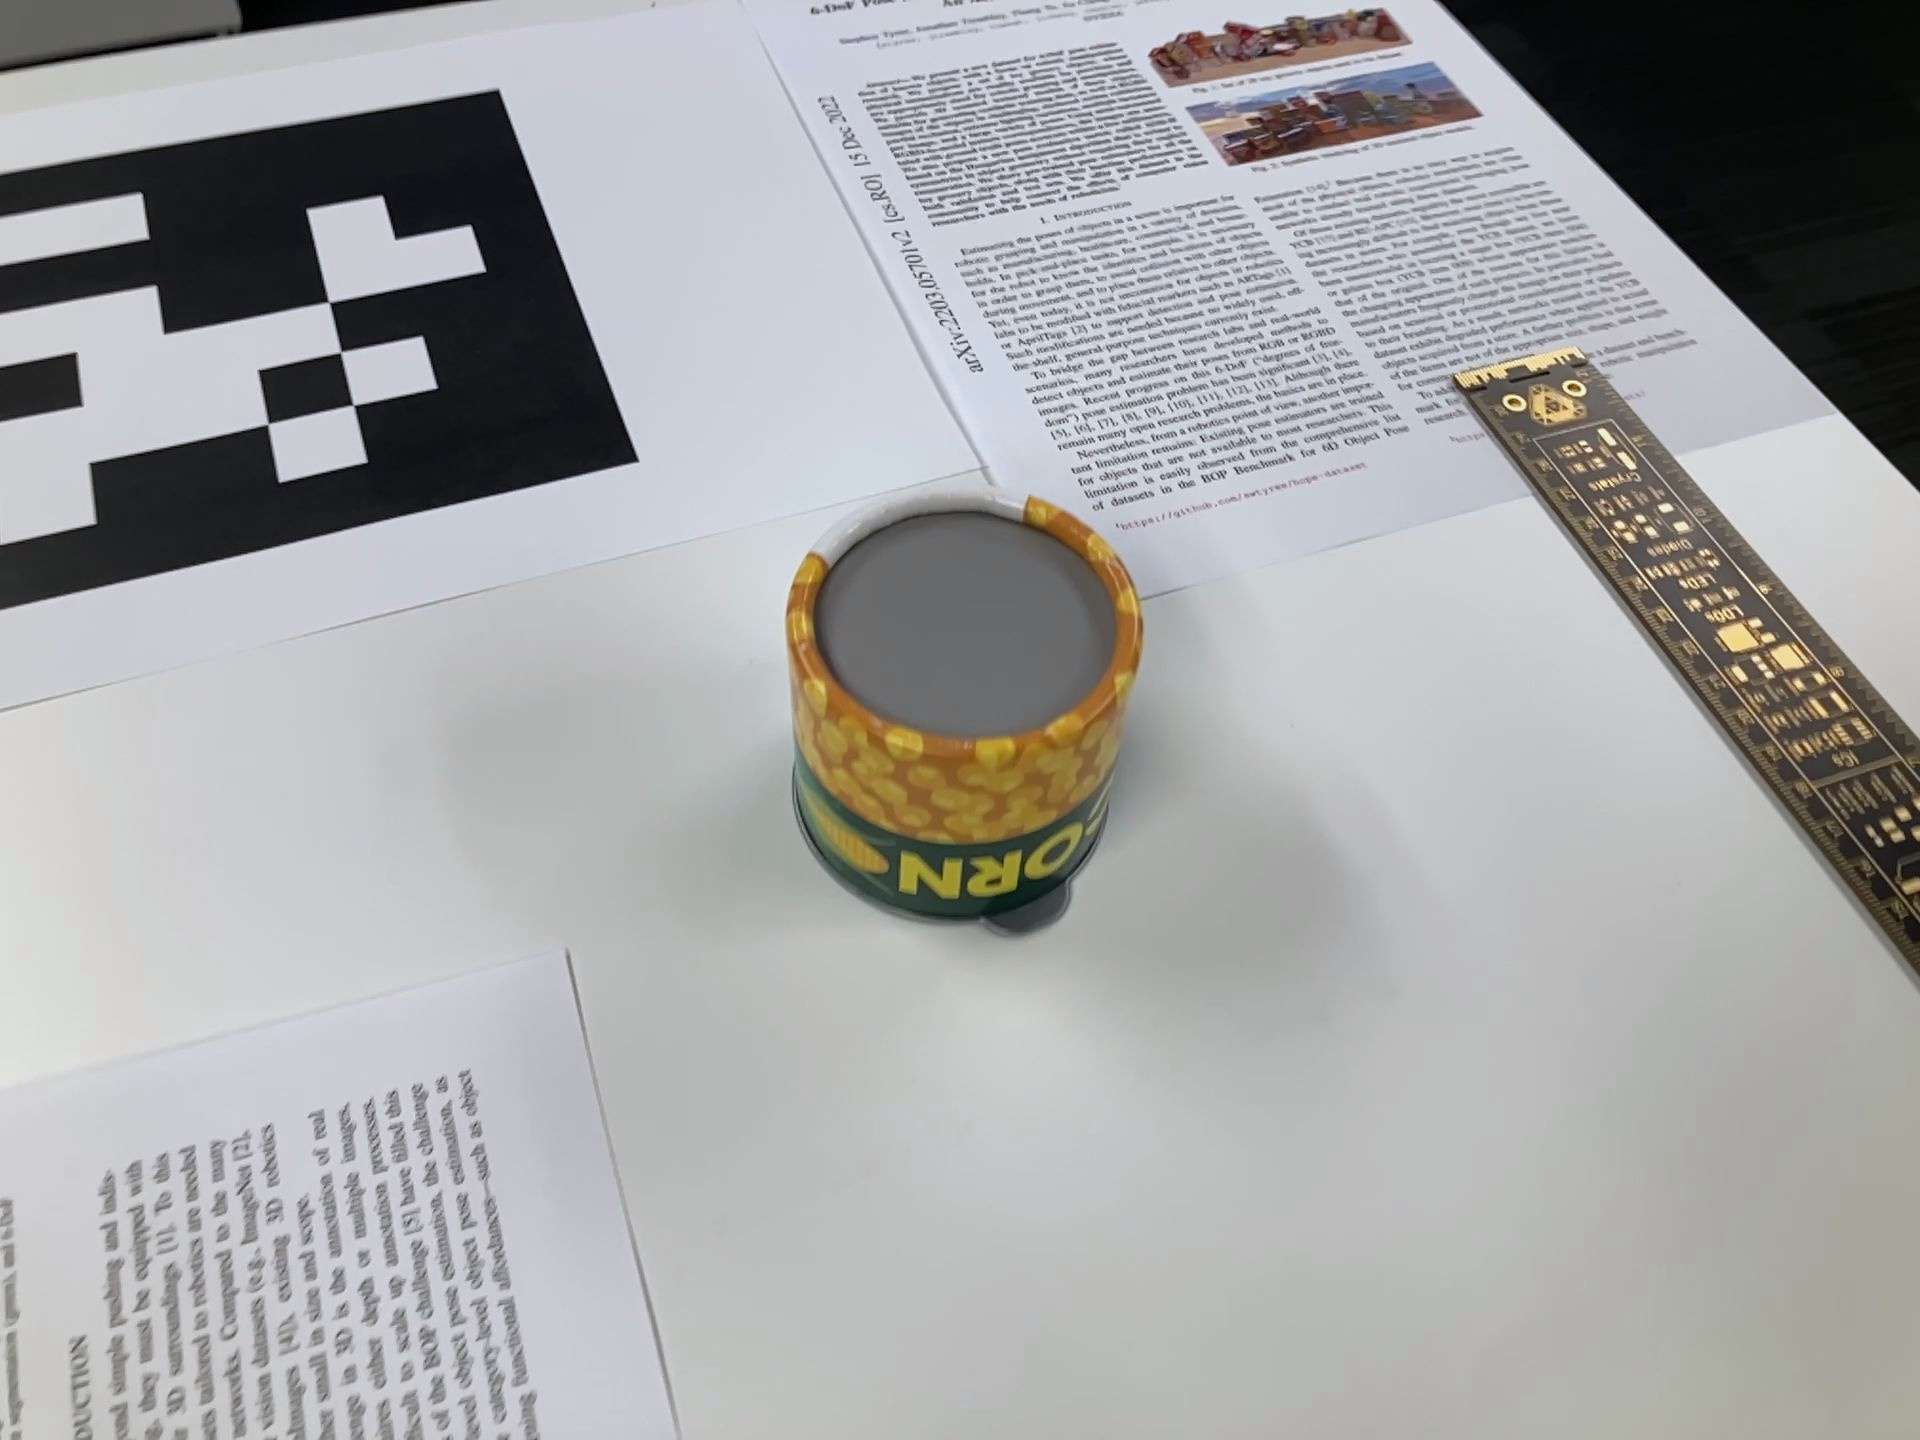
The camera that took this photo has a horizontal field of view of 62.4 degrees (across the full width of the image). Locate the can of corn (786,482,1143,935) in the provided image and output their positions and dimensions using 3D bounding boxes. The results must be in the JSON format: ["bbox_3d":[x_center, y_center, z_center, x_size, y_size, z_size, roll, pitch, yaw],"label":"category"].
[{"bbox_3d":[0.001,-0.002,0.309,0.071,0.058,0.071,2,54,-2],"label":"can of corn"}]
